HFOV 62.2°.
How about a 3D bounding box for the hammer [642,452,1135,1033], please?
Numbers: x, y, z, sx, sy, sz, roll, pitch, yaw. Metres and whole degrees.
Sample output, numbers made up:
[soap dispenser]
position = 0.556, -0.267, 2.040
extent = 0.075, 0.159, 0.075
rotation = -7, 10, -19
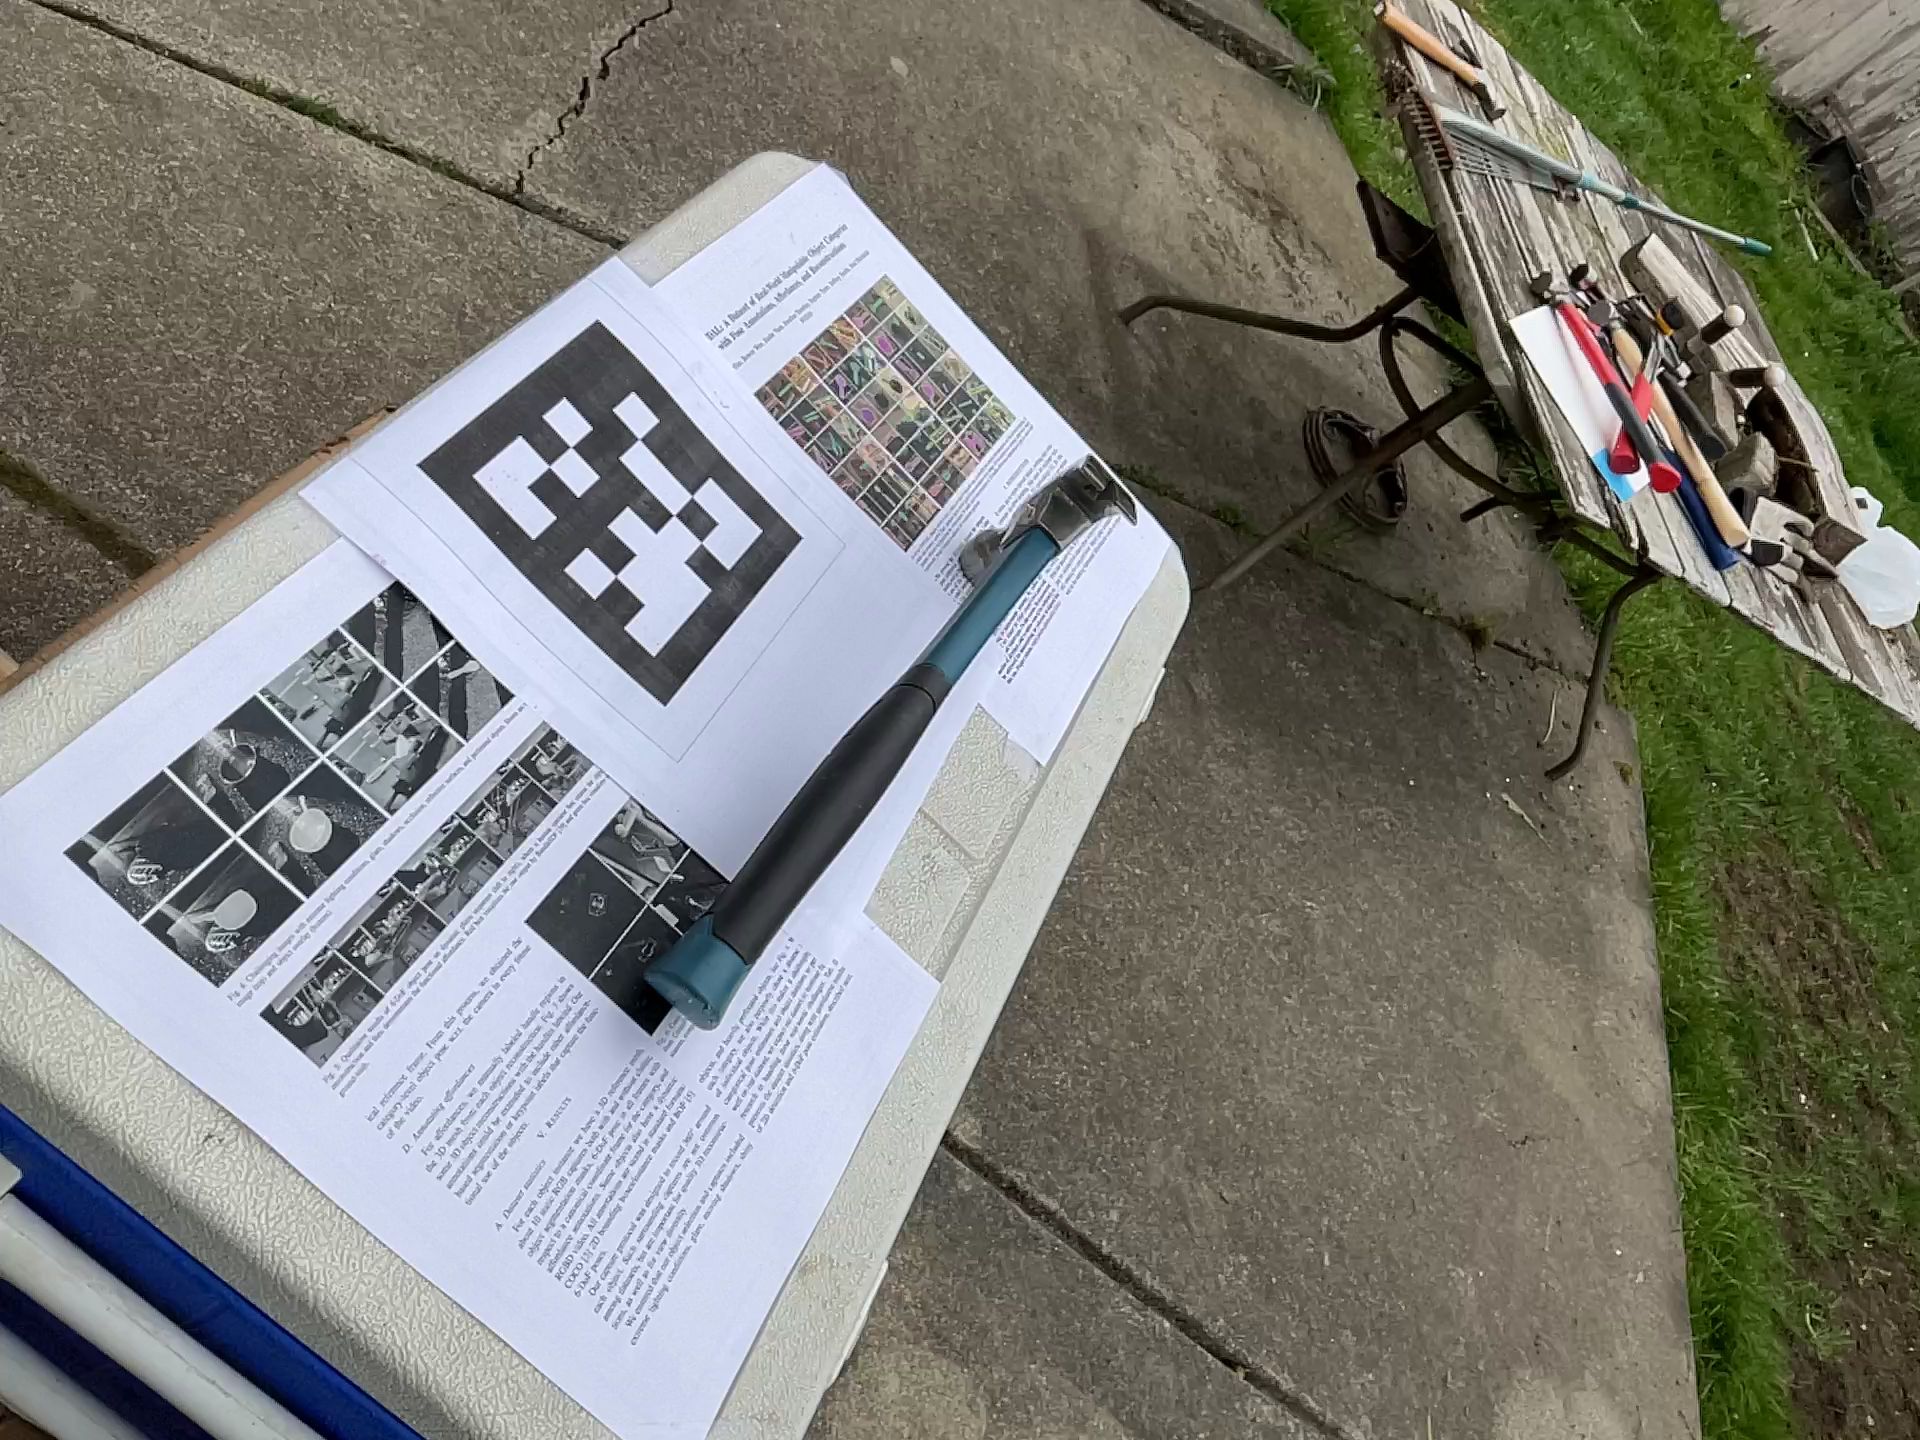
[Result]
[hammer]
position = -0.022, -0.004, 0.640
extent = 0.033, 0.128, 0.331
rotation = 44, 50, -10
